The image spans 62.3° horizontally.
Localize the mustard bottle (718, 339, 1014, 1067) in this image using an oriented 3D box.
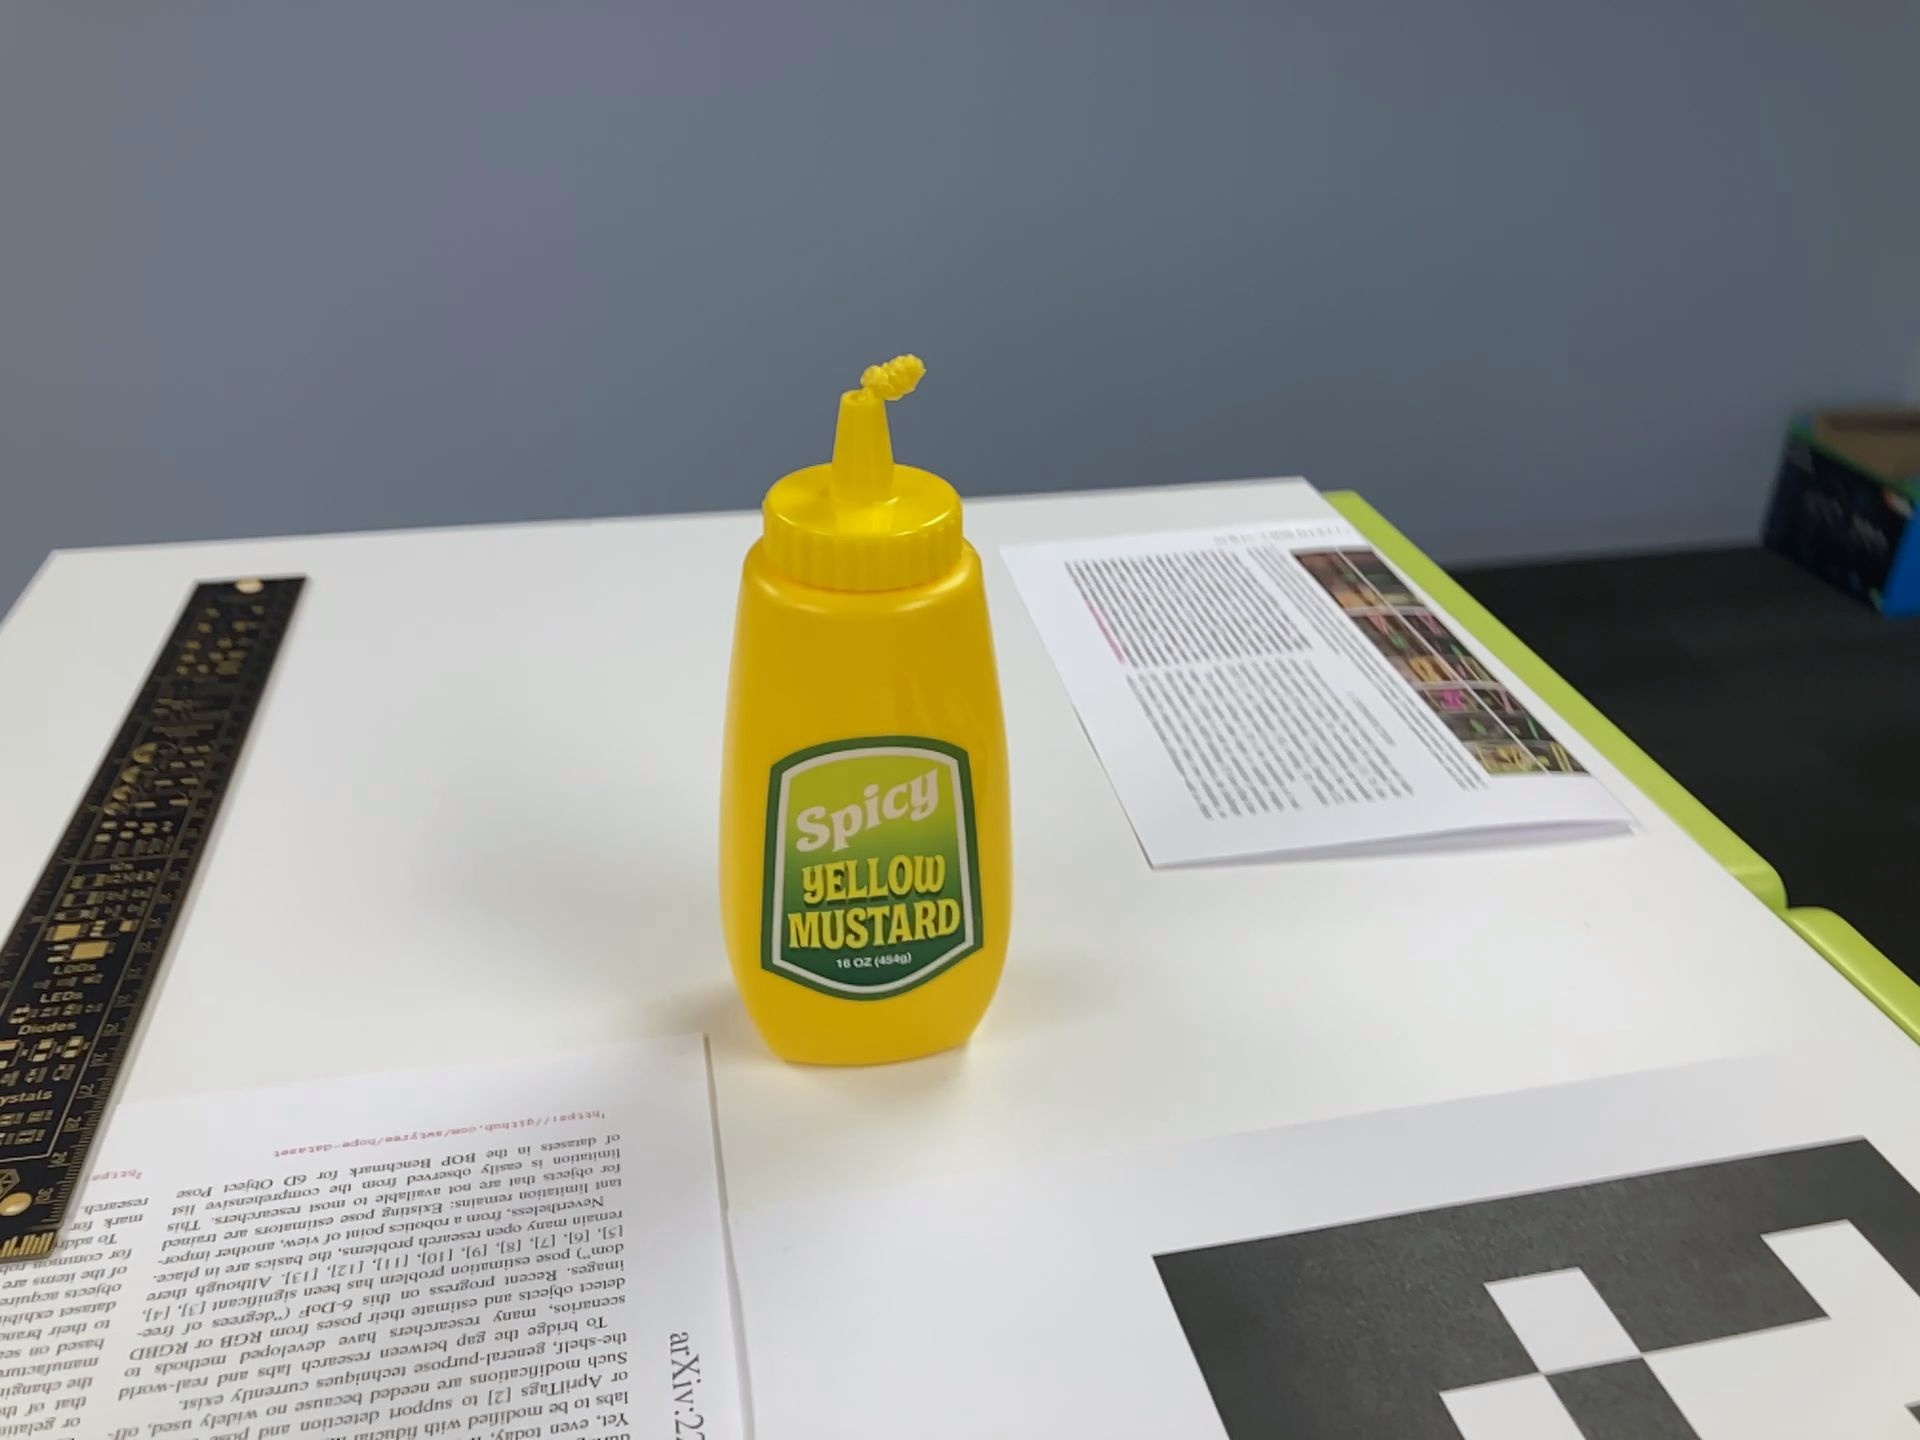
[{"bbox_3d":[-0.021,0.000,0.334,0.065,0.160,0.049,-4,31,-7],"label":"mustard bottle"}]
